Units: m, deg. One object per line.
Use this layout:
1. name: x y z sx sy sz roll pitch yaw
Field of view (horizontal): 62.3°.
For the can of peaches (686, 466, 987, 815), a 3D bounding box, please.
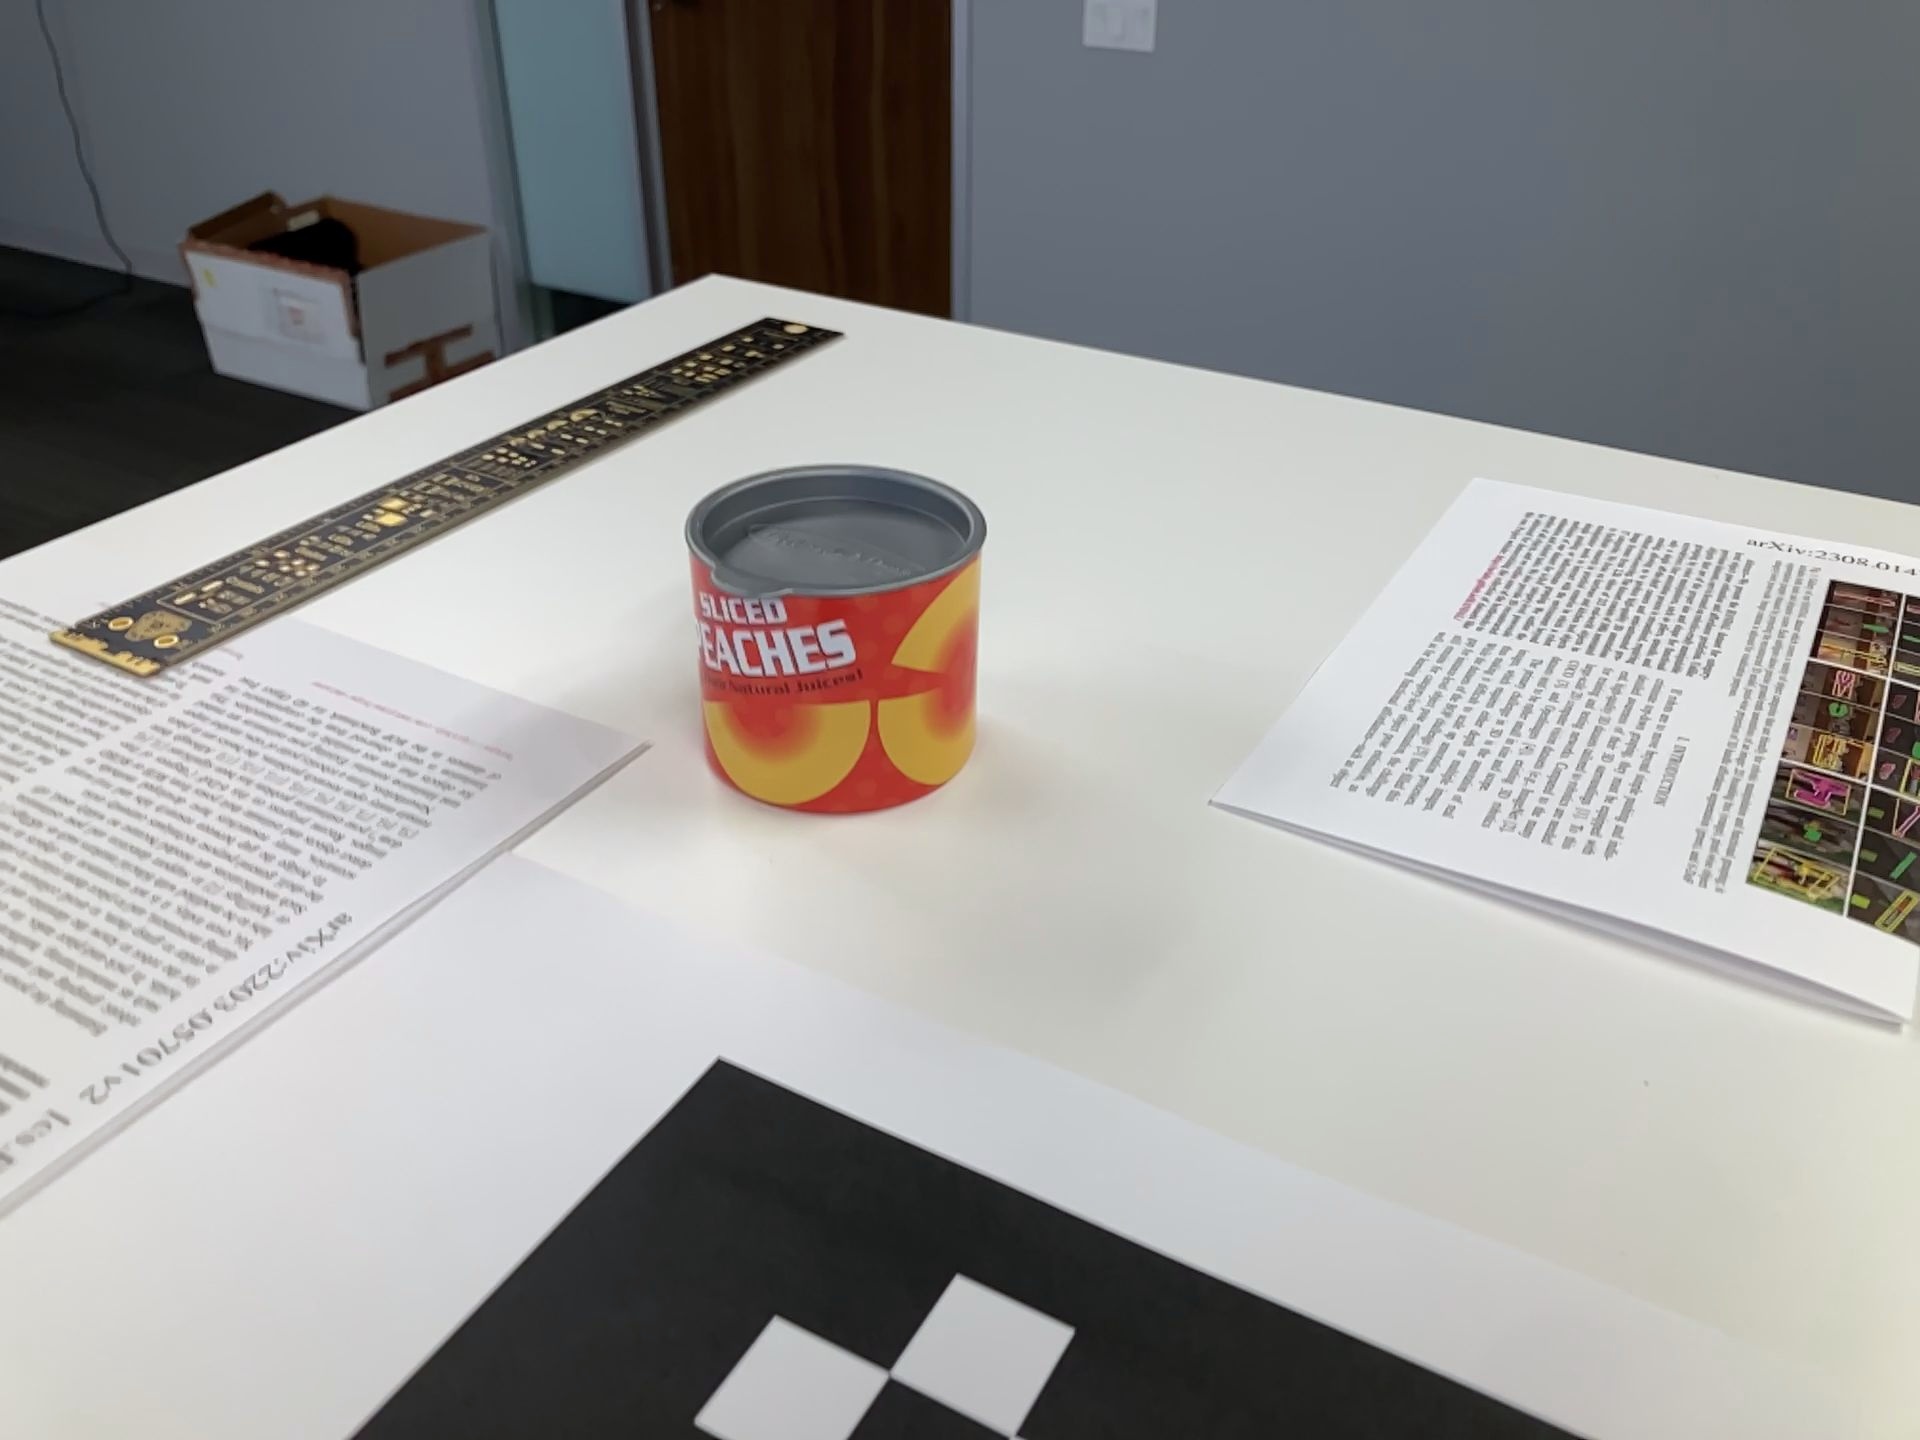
1. can of peaches: -0.029 -0.018 0.364 0.071 0.058 0.071 1 32 -1
